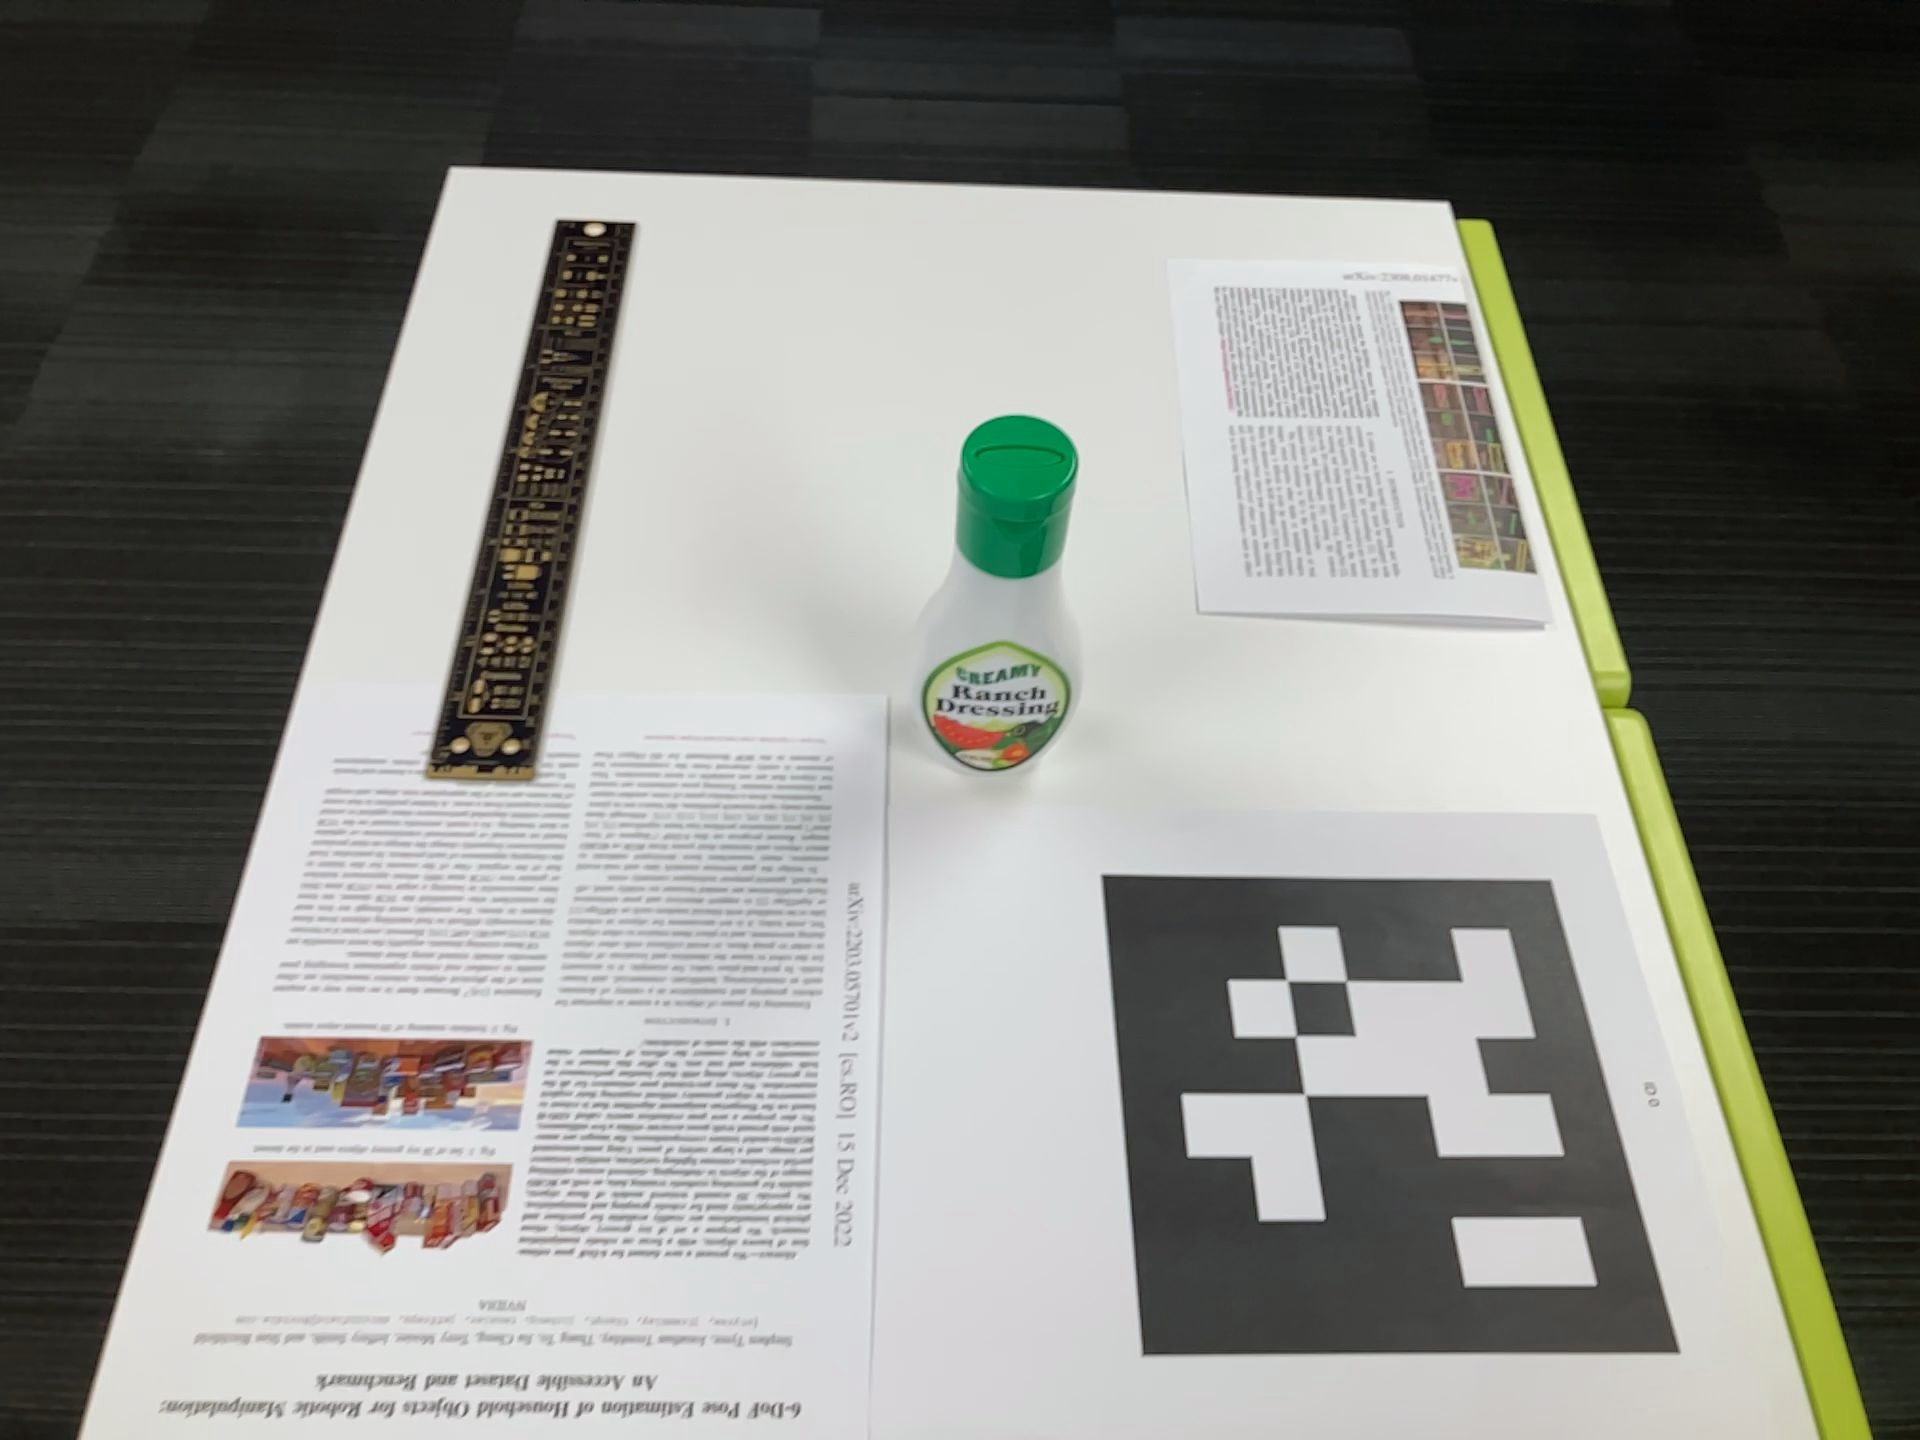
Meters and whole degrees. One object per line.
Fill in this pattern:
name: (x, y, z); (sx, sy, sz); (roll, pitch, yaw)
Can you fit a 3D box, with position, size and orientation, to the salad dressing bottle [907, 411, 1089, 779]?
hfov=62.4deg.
salad dressing bottle: (0.014, -0.038, 0.535); (0.064, 0.147, 0.044); (1, 54, -2)
